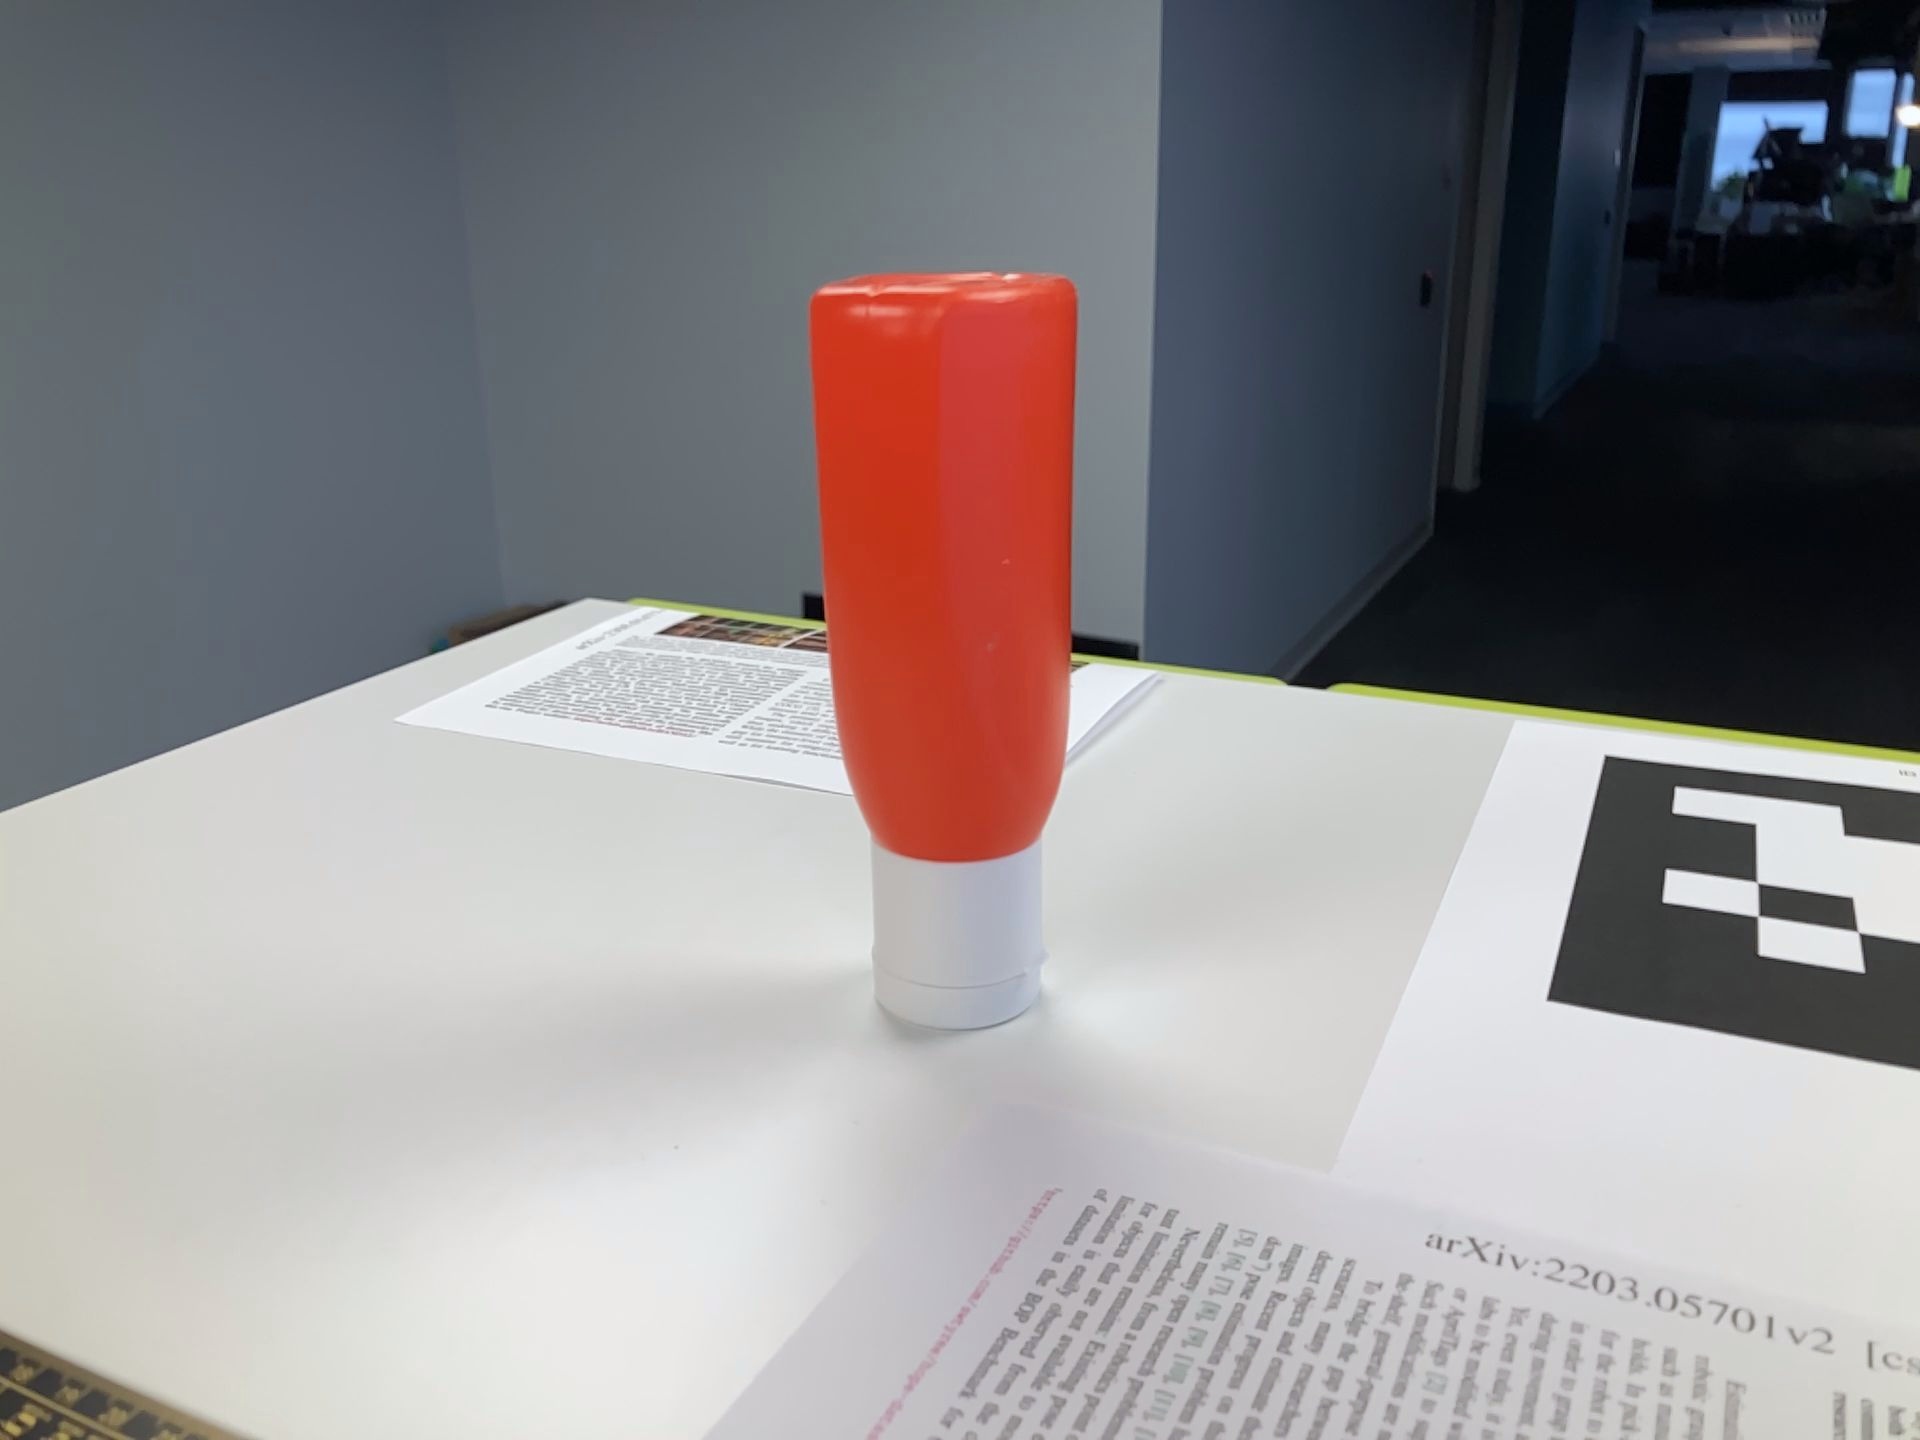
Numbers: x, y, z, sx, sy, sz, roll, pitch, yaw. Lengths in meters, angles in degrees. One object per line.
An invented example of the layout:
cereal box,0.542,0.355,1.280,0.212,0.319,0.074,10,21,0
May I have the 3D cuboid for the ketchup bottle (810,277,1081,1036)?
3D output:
ketchup bottle,-0.001,-0.011,0.317,0.043,0.149,0.065,8,19,26
